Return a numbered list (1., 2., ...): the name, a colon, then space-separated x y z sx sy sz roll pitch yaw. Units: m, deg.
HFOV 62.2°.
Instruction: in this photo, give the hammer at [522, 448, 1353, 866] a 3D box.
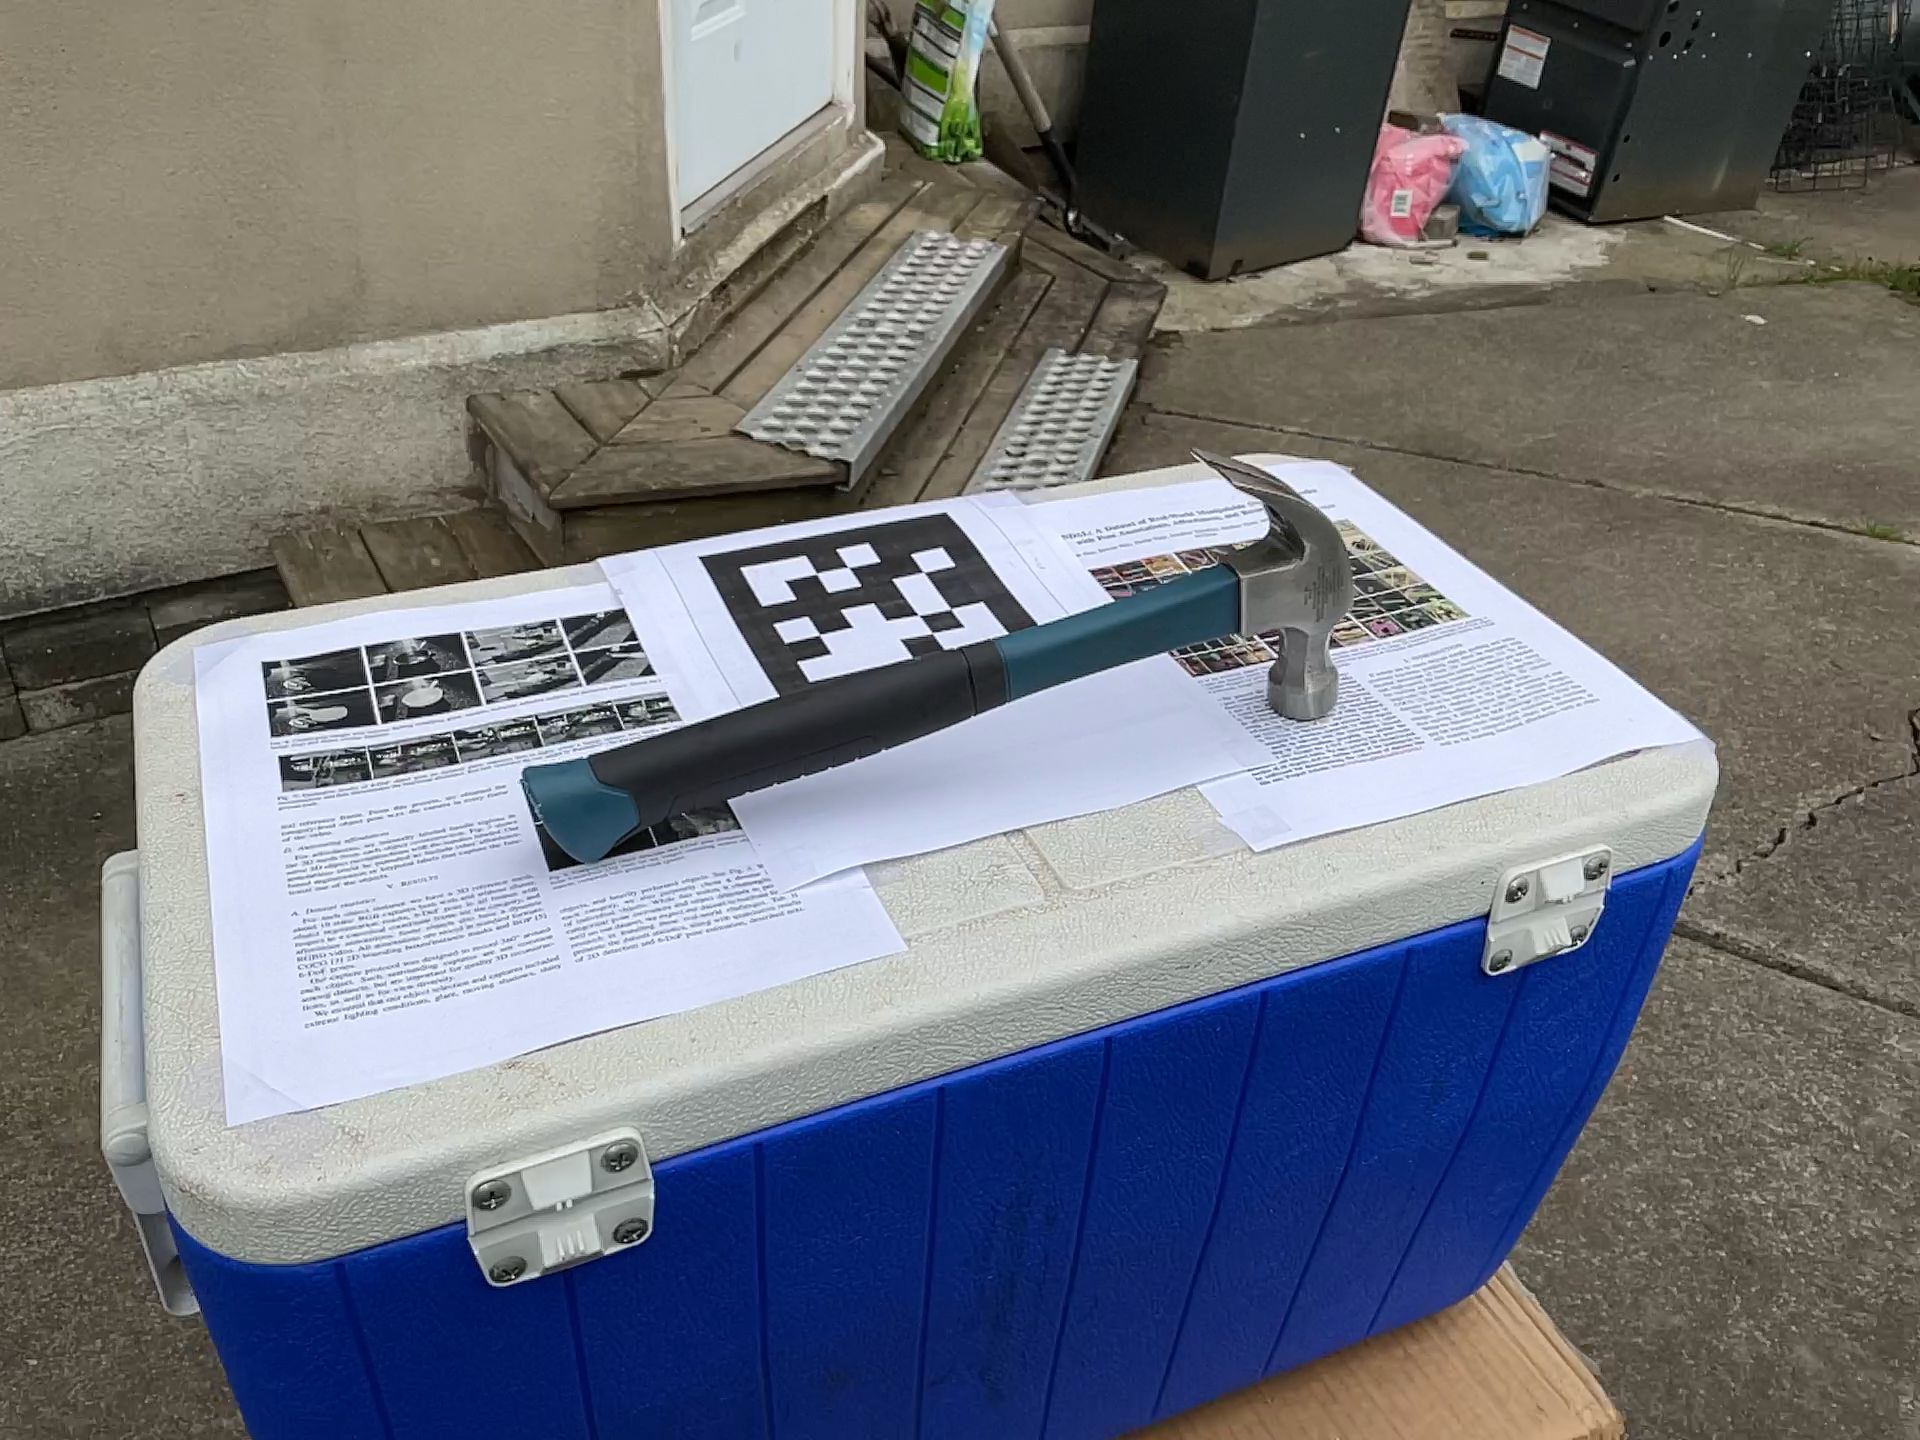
1. hammer: 0.002 -0.013 0.607 0.331 0.128 0.033 -18 37 -15
